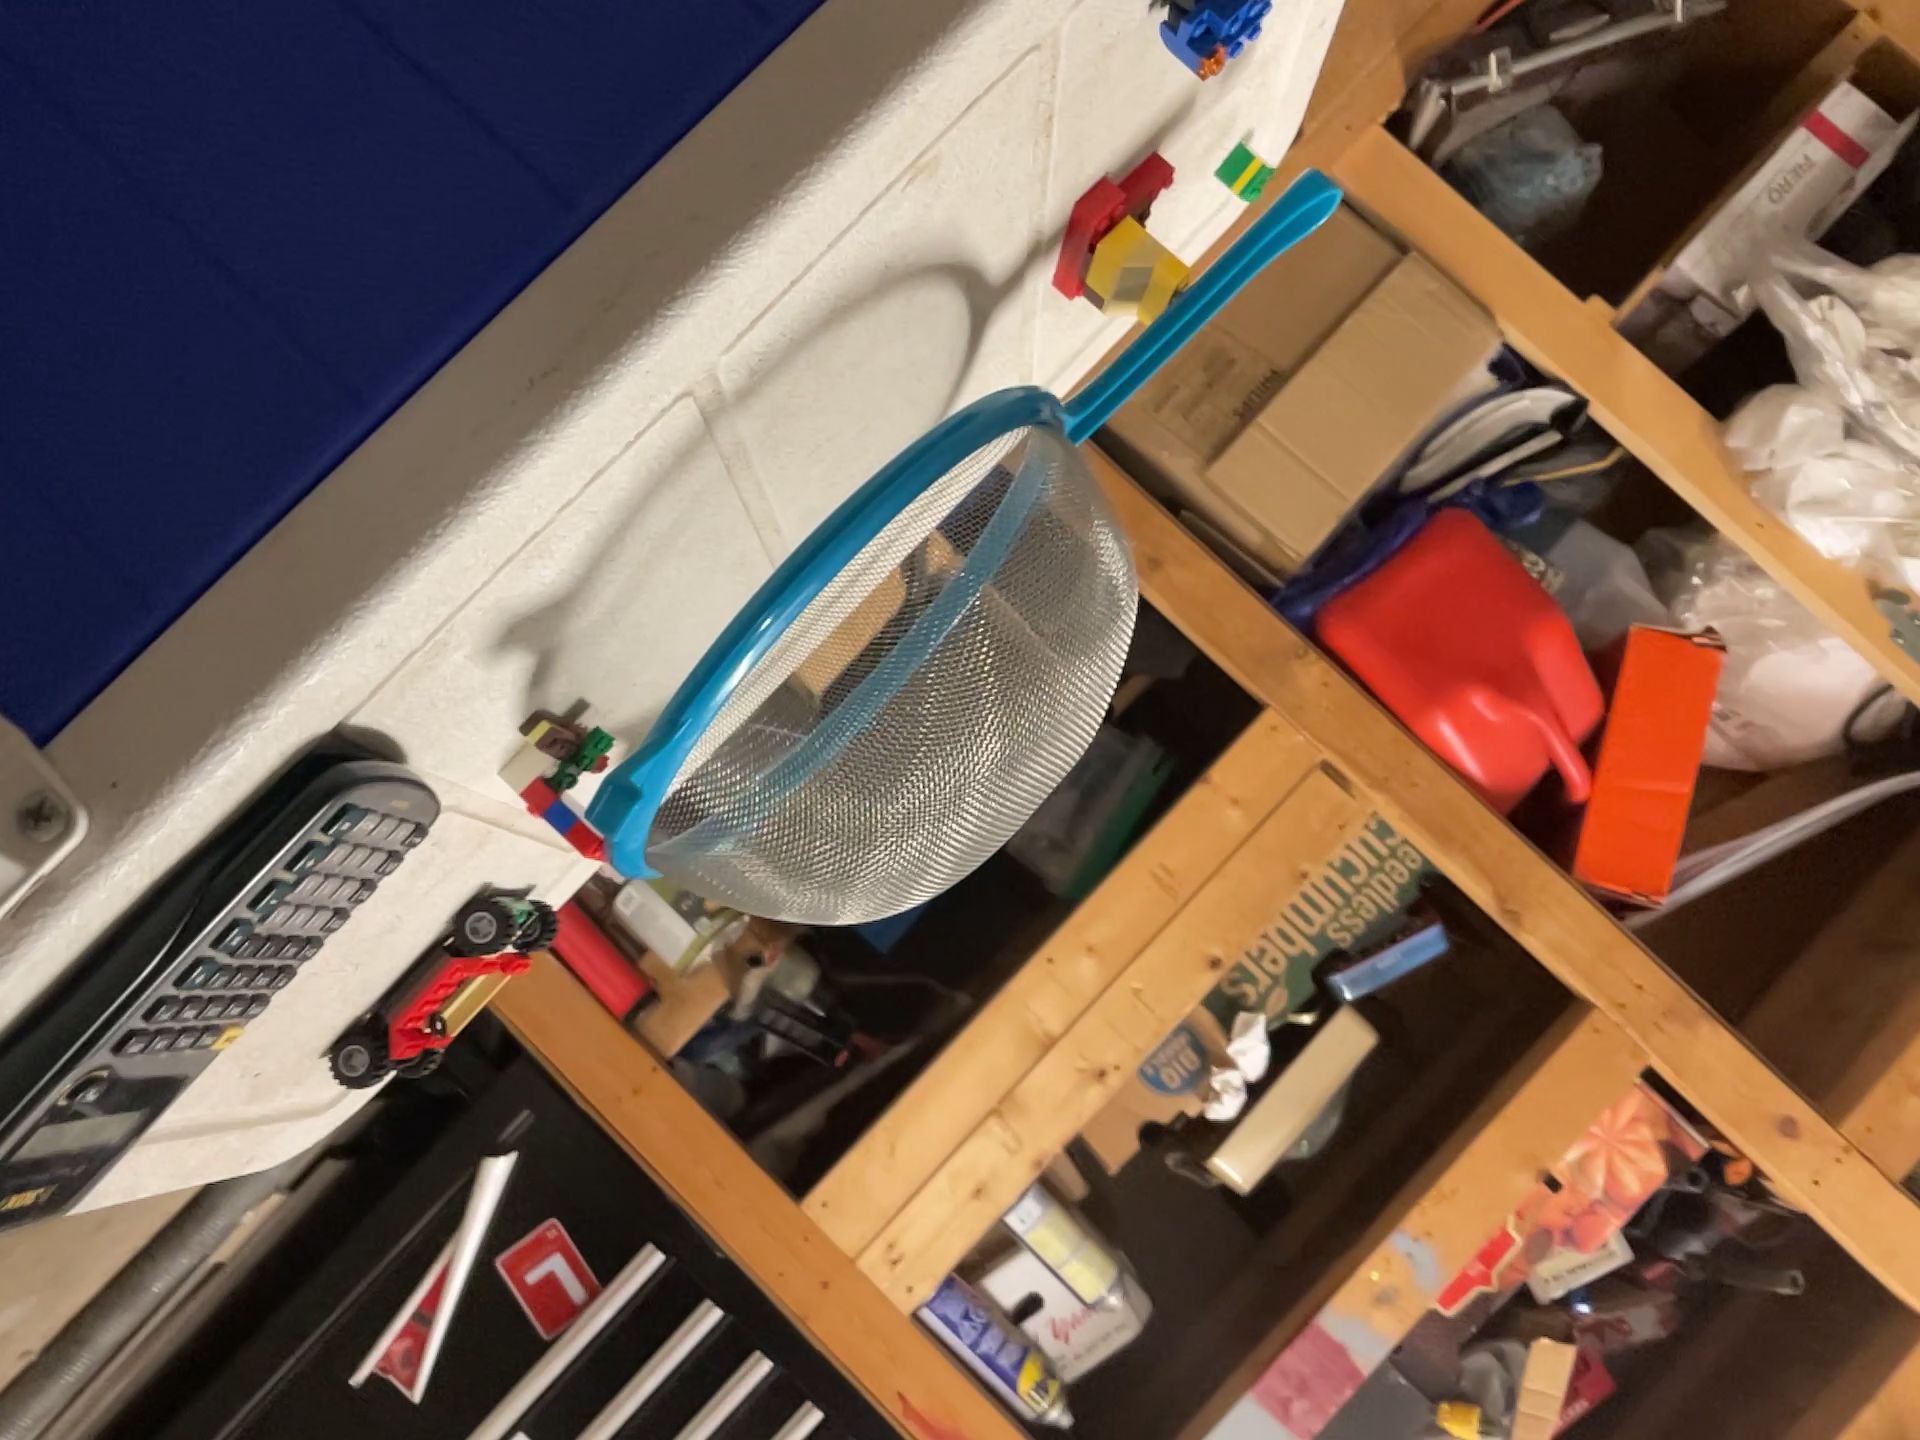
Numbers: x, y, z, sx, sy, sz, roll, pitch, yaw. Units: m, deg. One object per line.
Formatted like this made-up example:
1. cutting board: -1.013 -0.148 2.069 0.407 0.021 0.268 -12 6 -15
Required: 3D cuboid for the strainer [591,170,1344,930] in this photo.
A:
1. strainer: 0.037 -0.045 0.536 0.340 0.095 0.211 -45 173 -9
